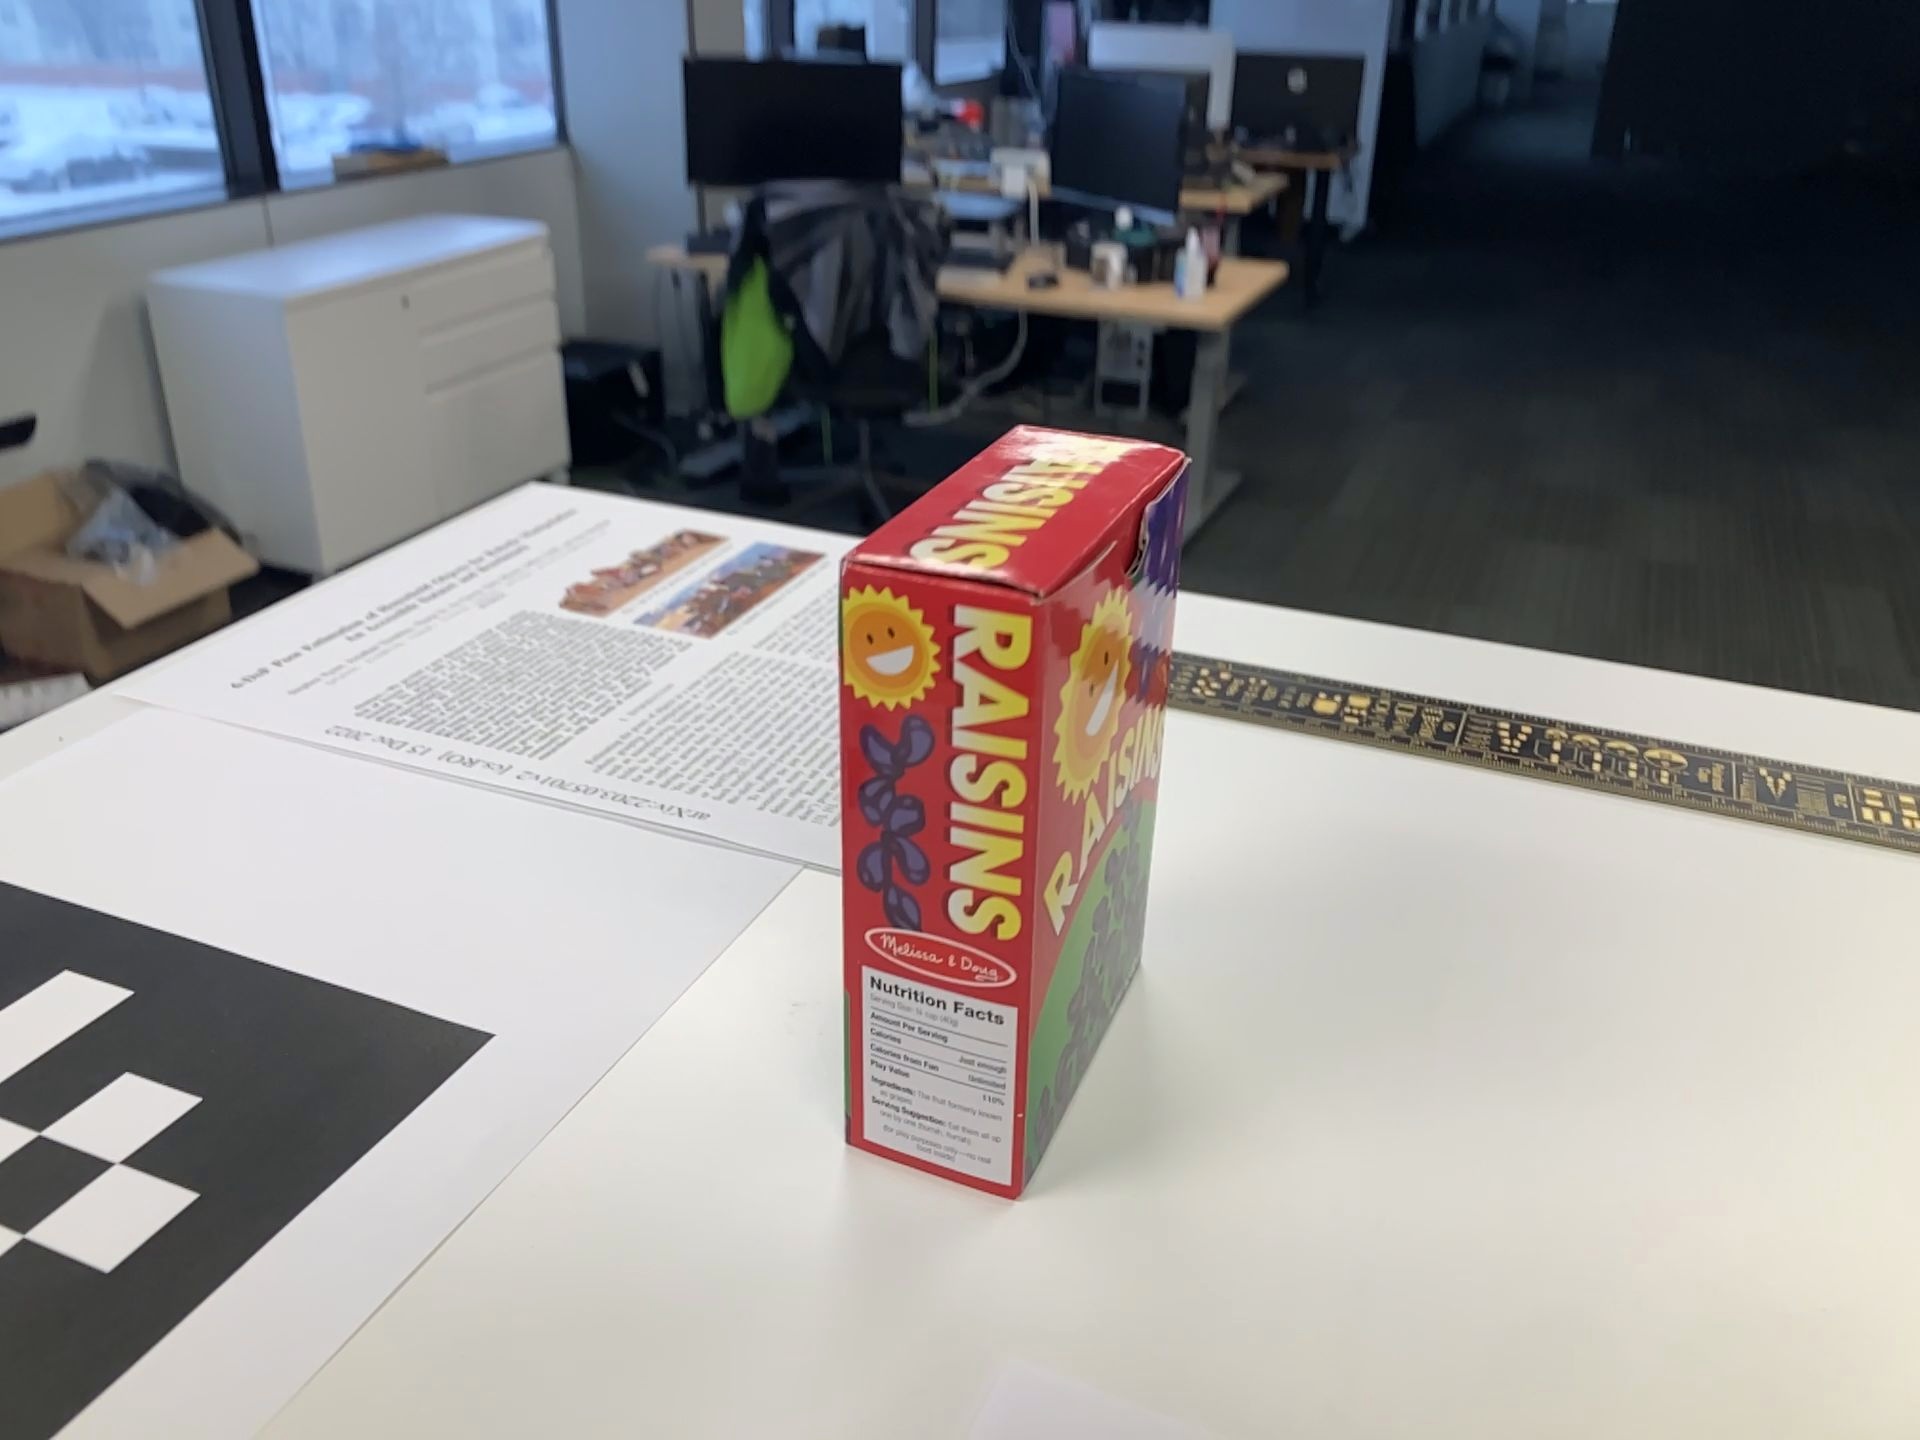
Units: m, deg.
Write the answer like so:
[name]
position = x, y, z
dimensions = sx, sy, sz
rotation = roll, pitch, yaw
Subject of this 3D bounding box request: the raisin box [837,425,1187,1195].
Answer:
[raisin box]
position = 0.011, 0.014, 0.309
dimensions = 0.040, 0.123, 0.086
rotation = 12, 28, 20
